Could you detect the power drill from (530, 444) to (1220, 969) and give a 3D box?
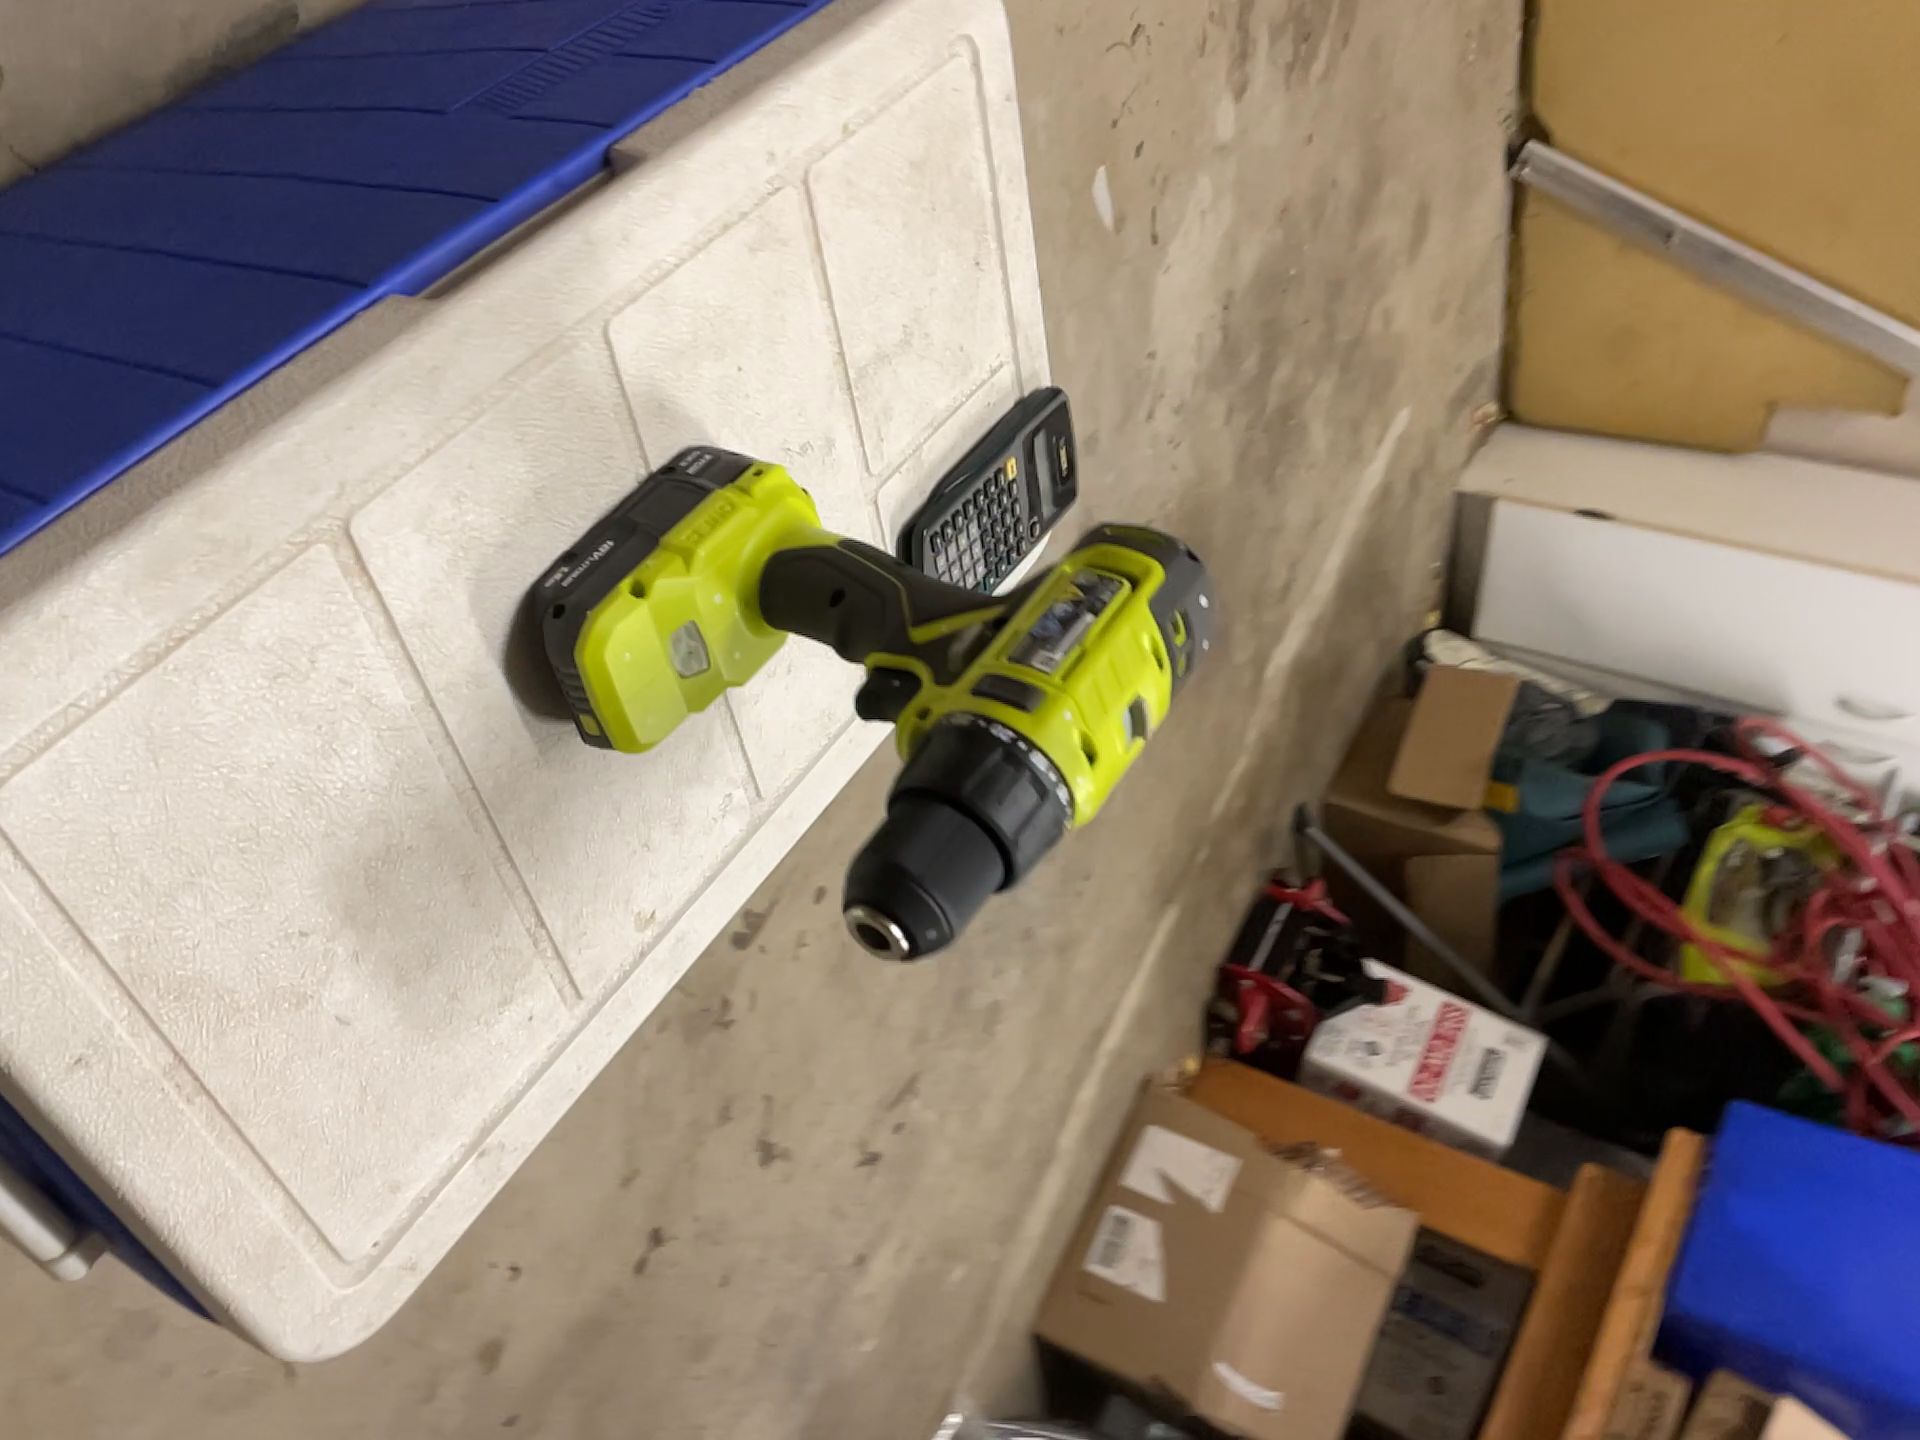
[{"bbox_3d":[-0.044,-0.014,0.582,0.191,0.228,0.080,-50,145,-33],"label":"power drill"}]
